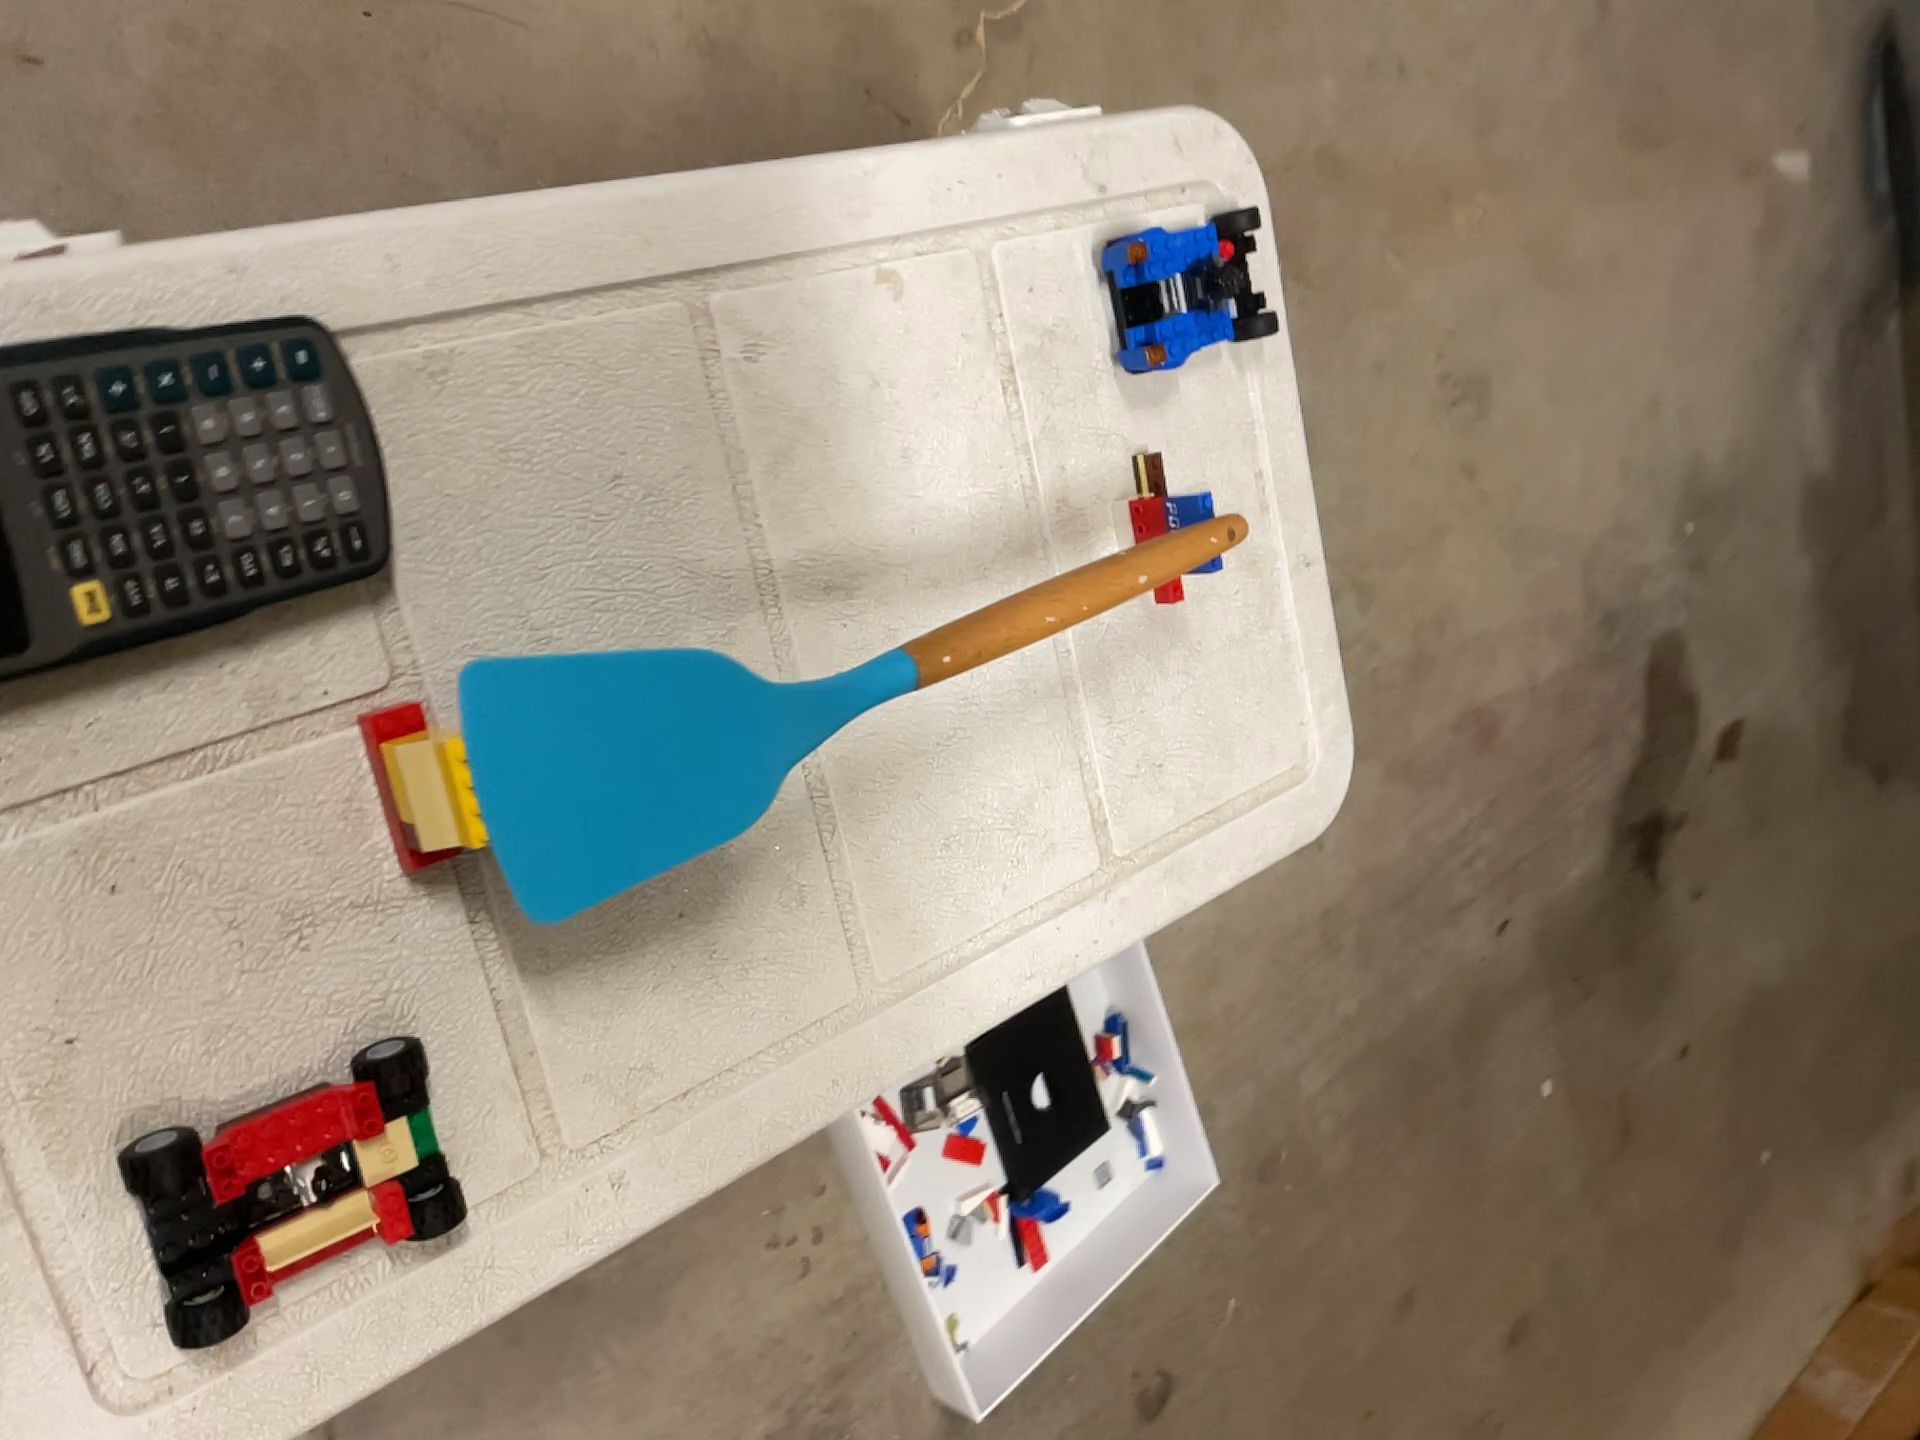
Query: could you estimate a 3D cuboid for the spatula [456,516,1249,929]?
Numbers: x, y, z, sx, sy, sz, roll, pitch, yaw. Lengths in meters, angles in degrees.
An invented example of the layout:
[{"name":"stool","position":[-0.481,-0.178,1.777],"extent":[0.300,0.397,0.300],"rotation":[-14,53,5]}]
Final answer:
[{"name":"spatula","position":[-0.008,-0.026,0.535],"extent":[0.318,0.044,0.082],"rotation":[-24,107,-40]}]
